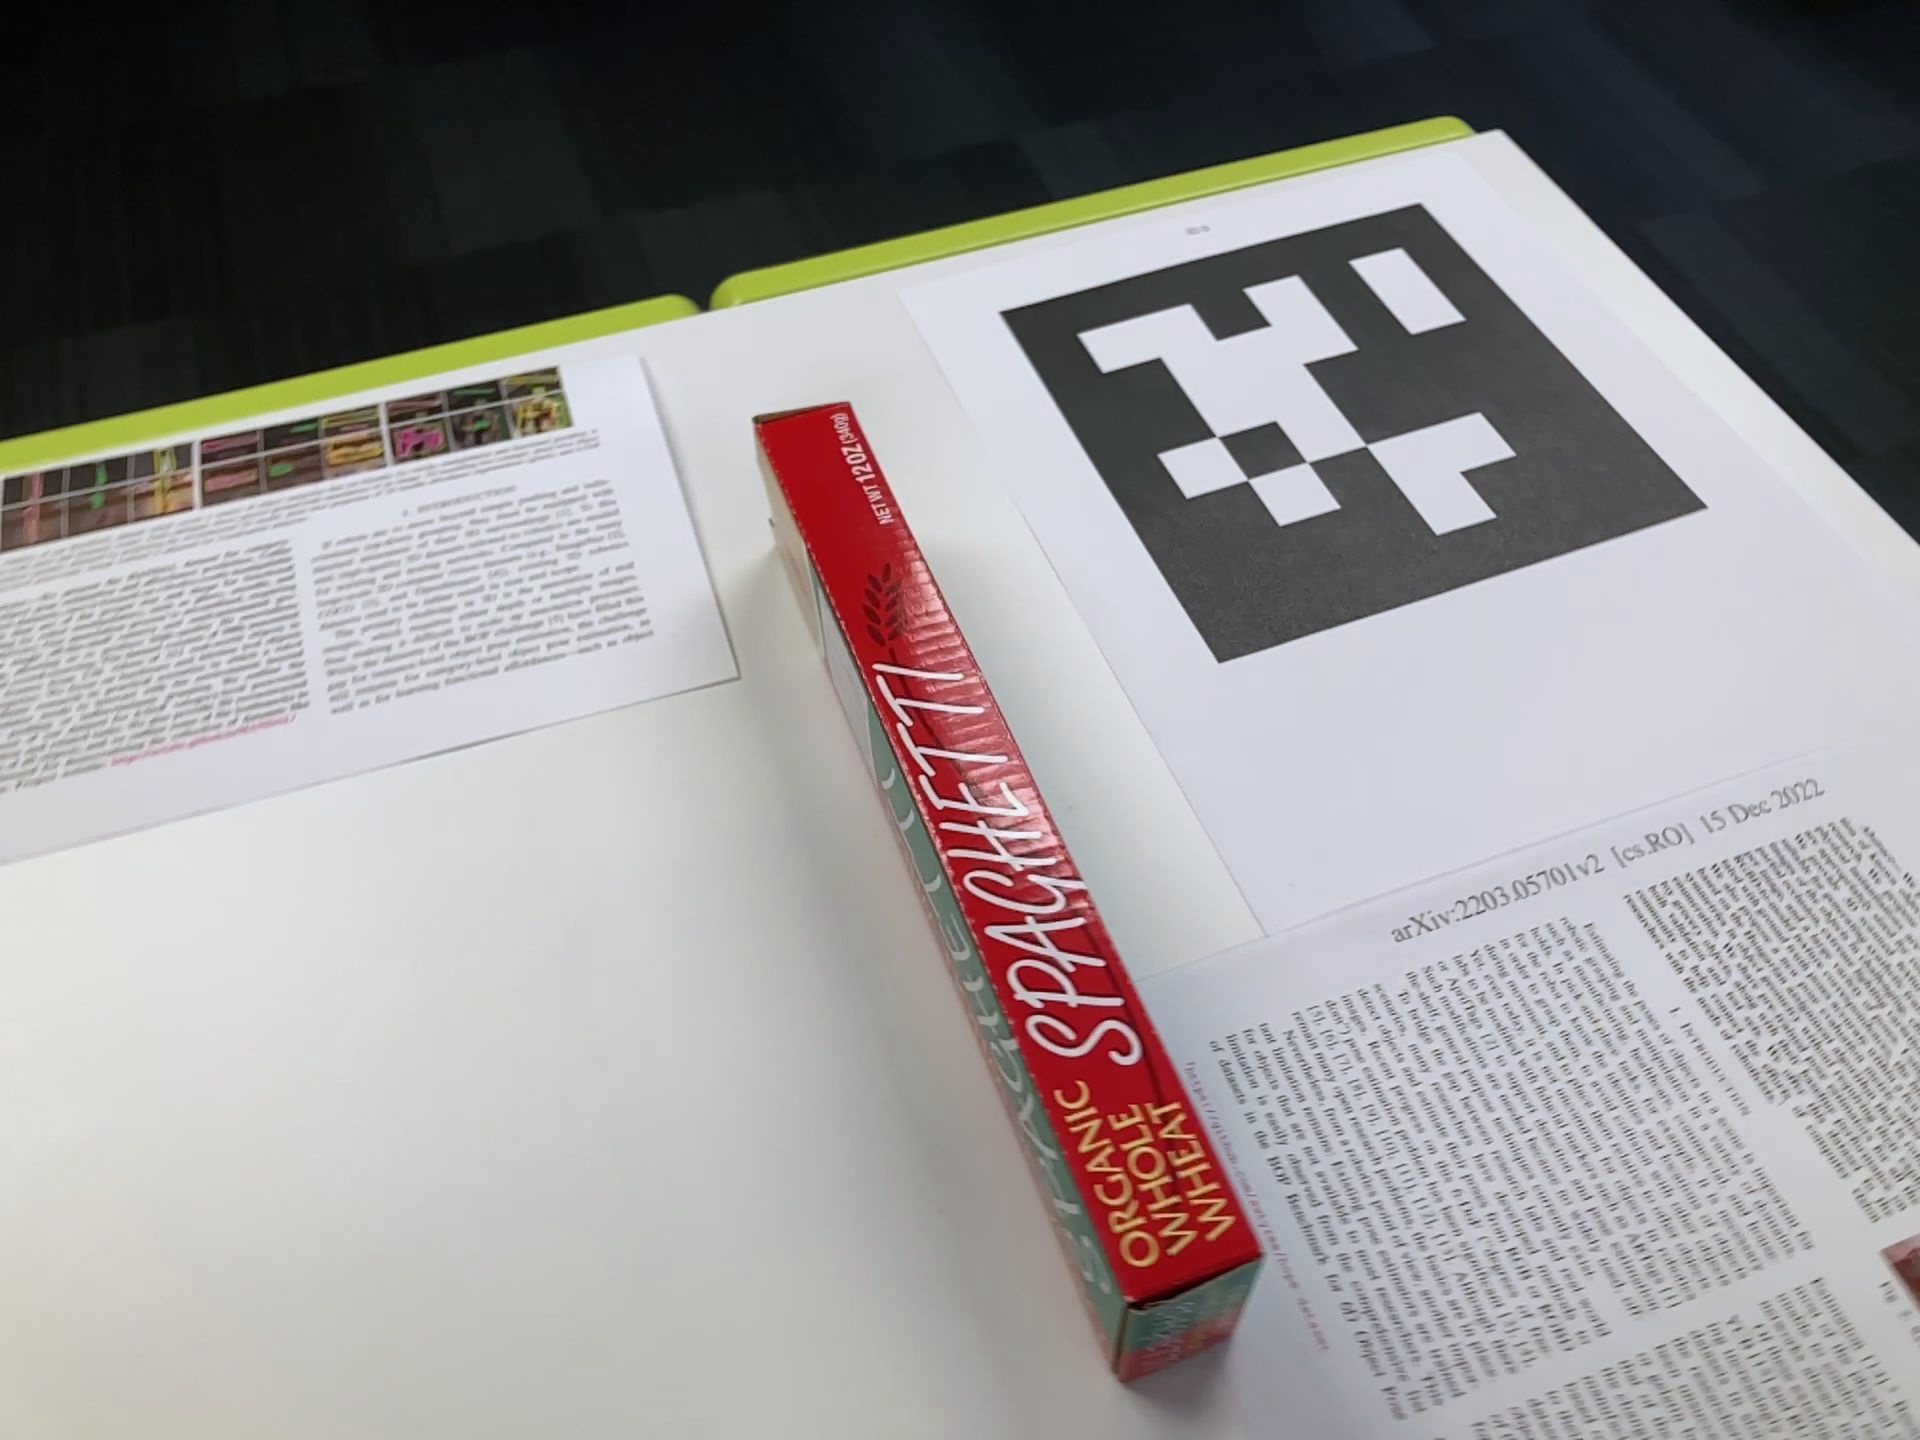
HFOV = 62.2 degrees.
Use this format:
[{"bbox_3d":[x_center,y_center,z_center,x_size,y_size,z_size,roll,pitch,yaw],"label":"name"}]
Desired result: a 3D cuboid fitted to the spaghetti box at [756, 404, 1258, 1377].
[{"bbox_3d":[0.001,0.024,0.376,0.028,0.050,0.250,-18,55,-10],"label":"spaghetti box"}]
